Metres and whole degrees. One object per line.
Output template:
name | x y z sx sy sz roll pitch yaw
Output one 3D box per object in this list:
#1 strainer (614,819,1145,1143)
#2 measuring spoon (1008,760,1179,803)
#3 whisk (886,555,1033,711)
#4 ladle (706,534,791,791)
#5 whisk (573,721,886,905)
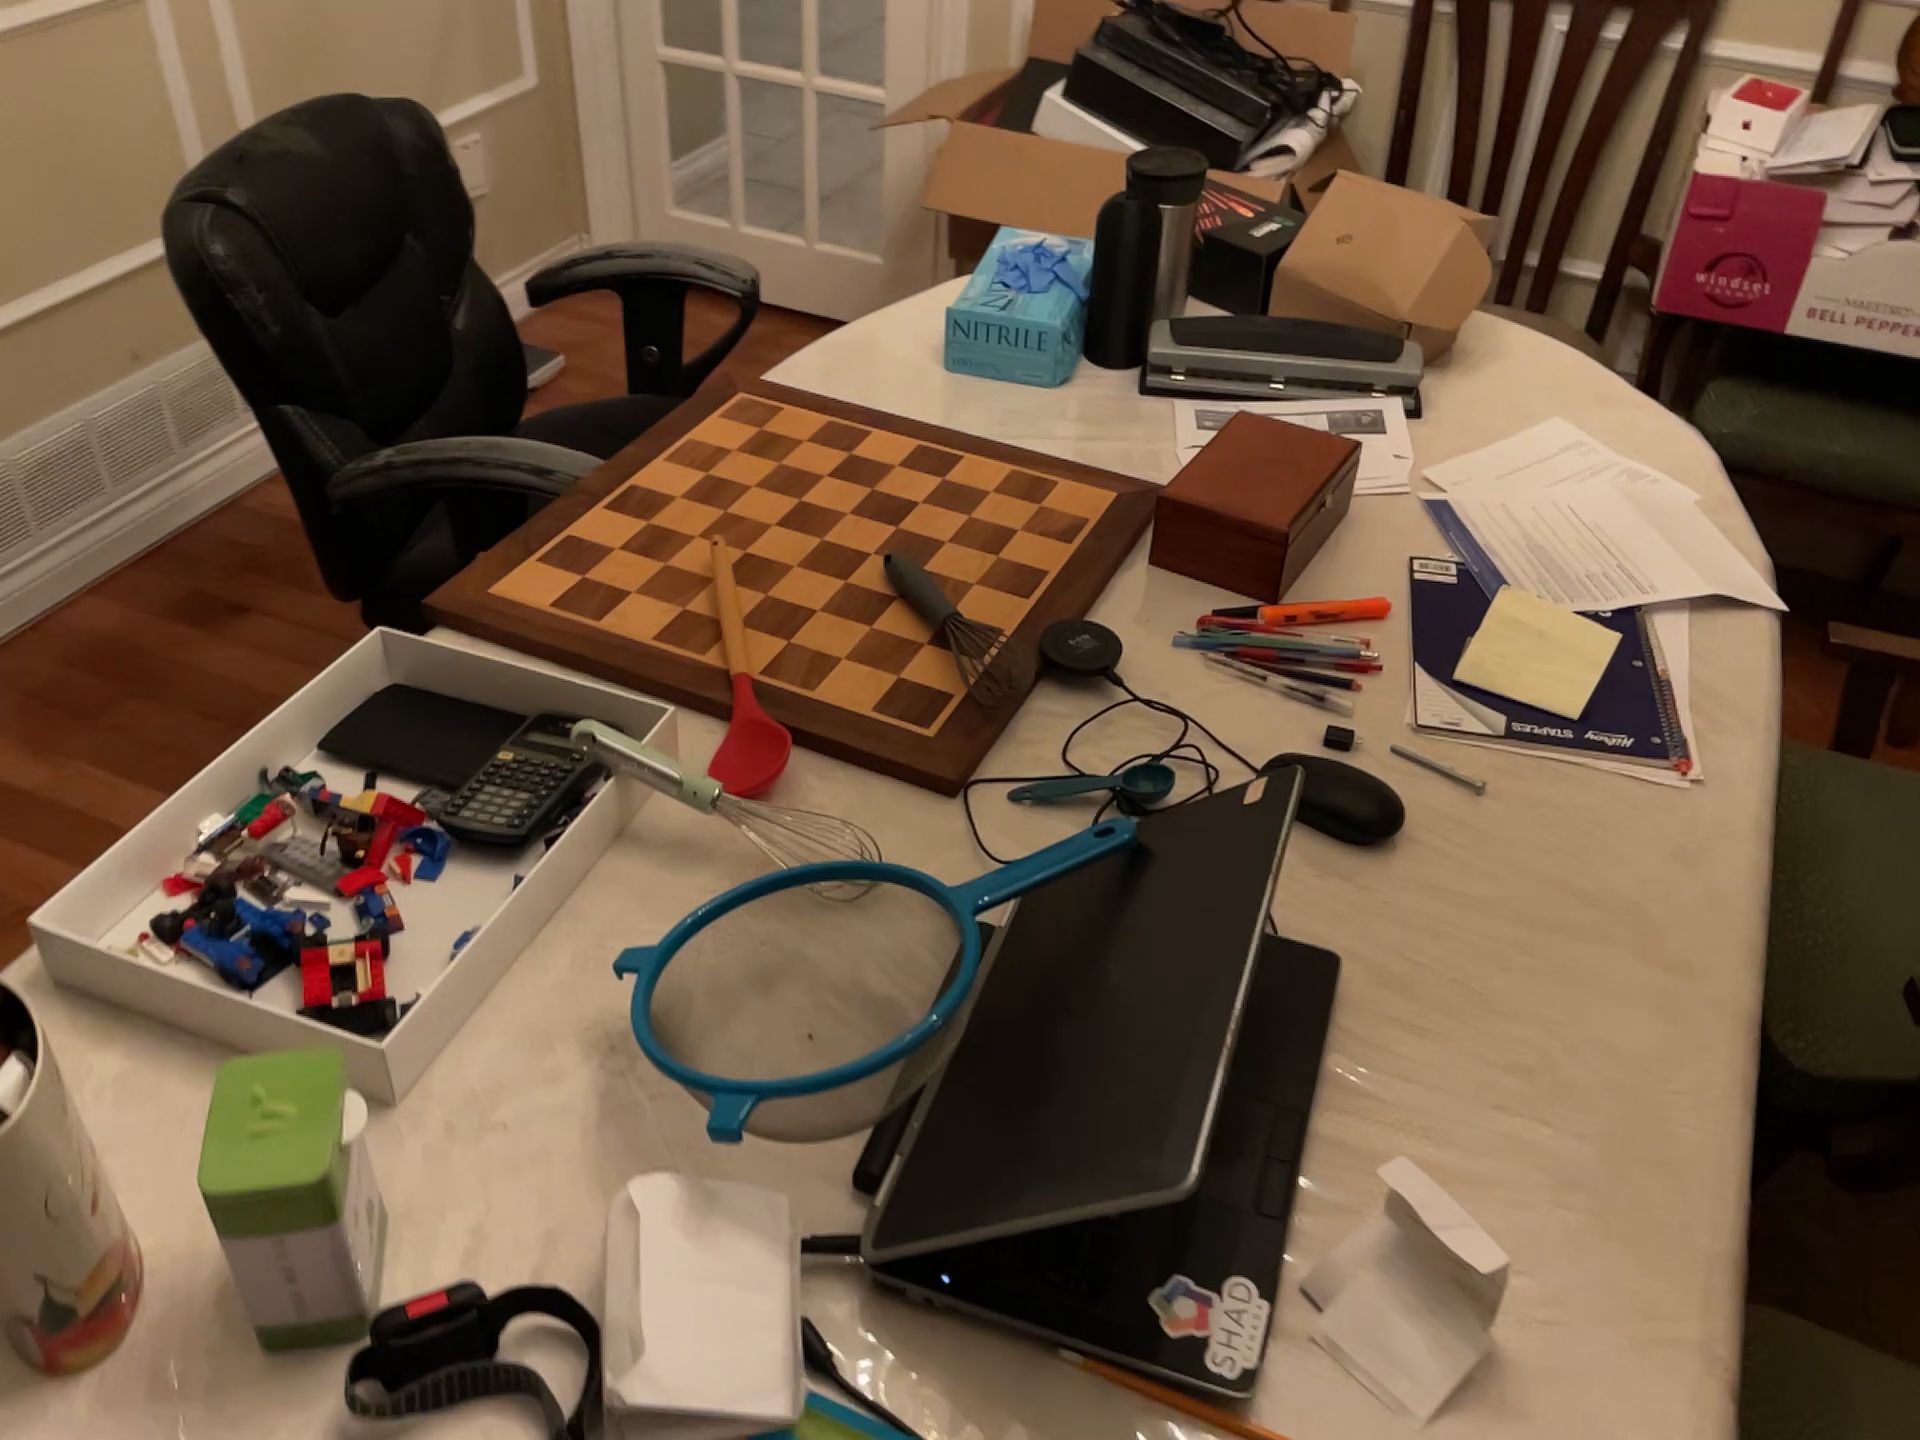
strainer | -0.028 0.159 0.981 0.340 0.095 0.211 -21 31 -21
measuring spoon | 0.101 0.056 1.195 0.128 0.021 0.042 -9 30 4
whisk | -0.004 -0.078 1.313 0.055 0.055 0.239 -3 32 -30
ladle | -0.181 -0.053 1.276 0.069 0.031 0.316 -21 44 5
whisk | -0.162 0.061 1.110 0.246 0.058 0.059 26 11 6
